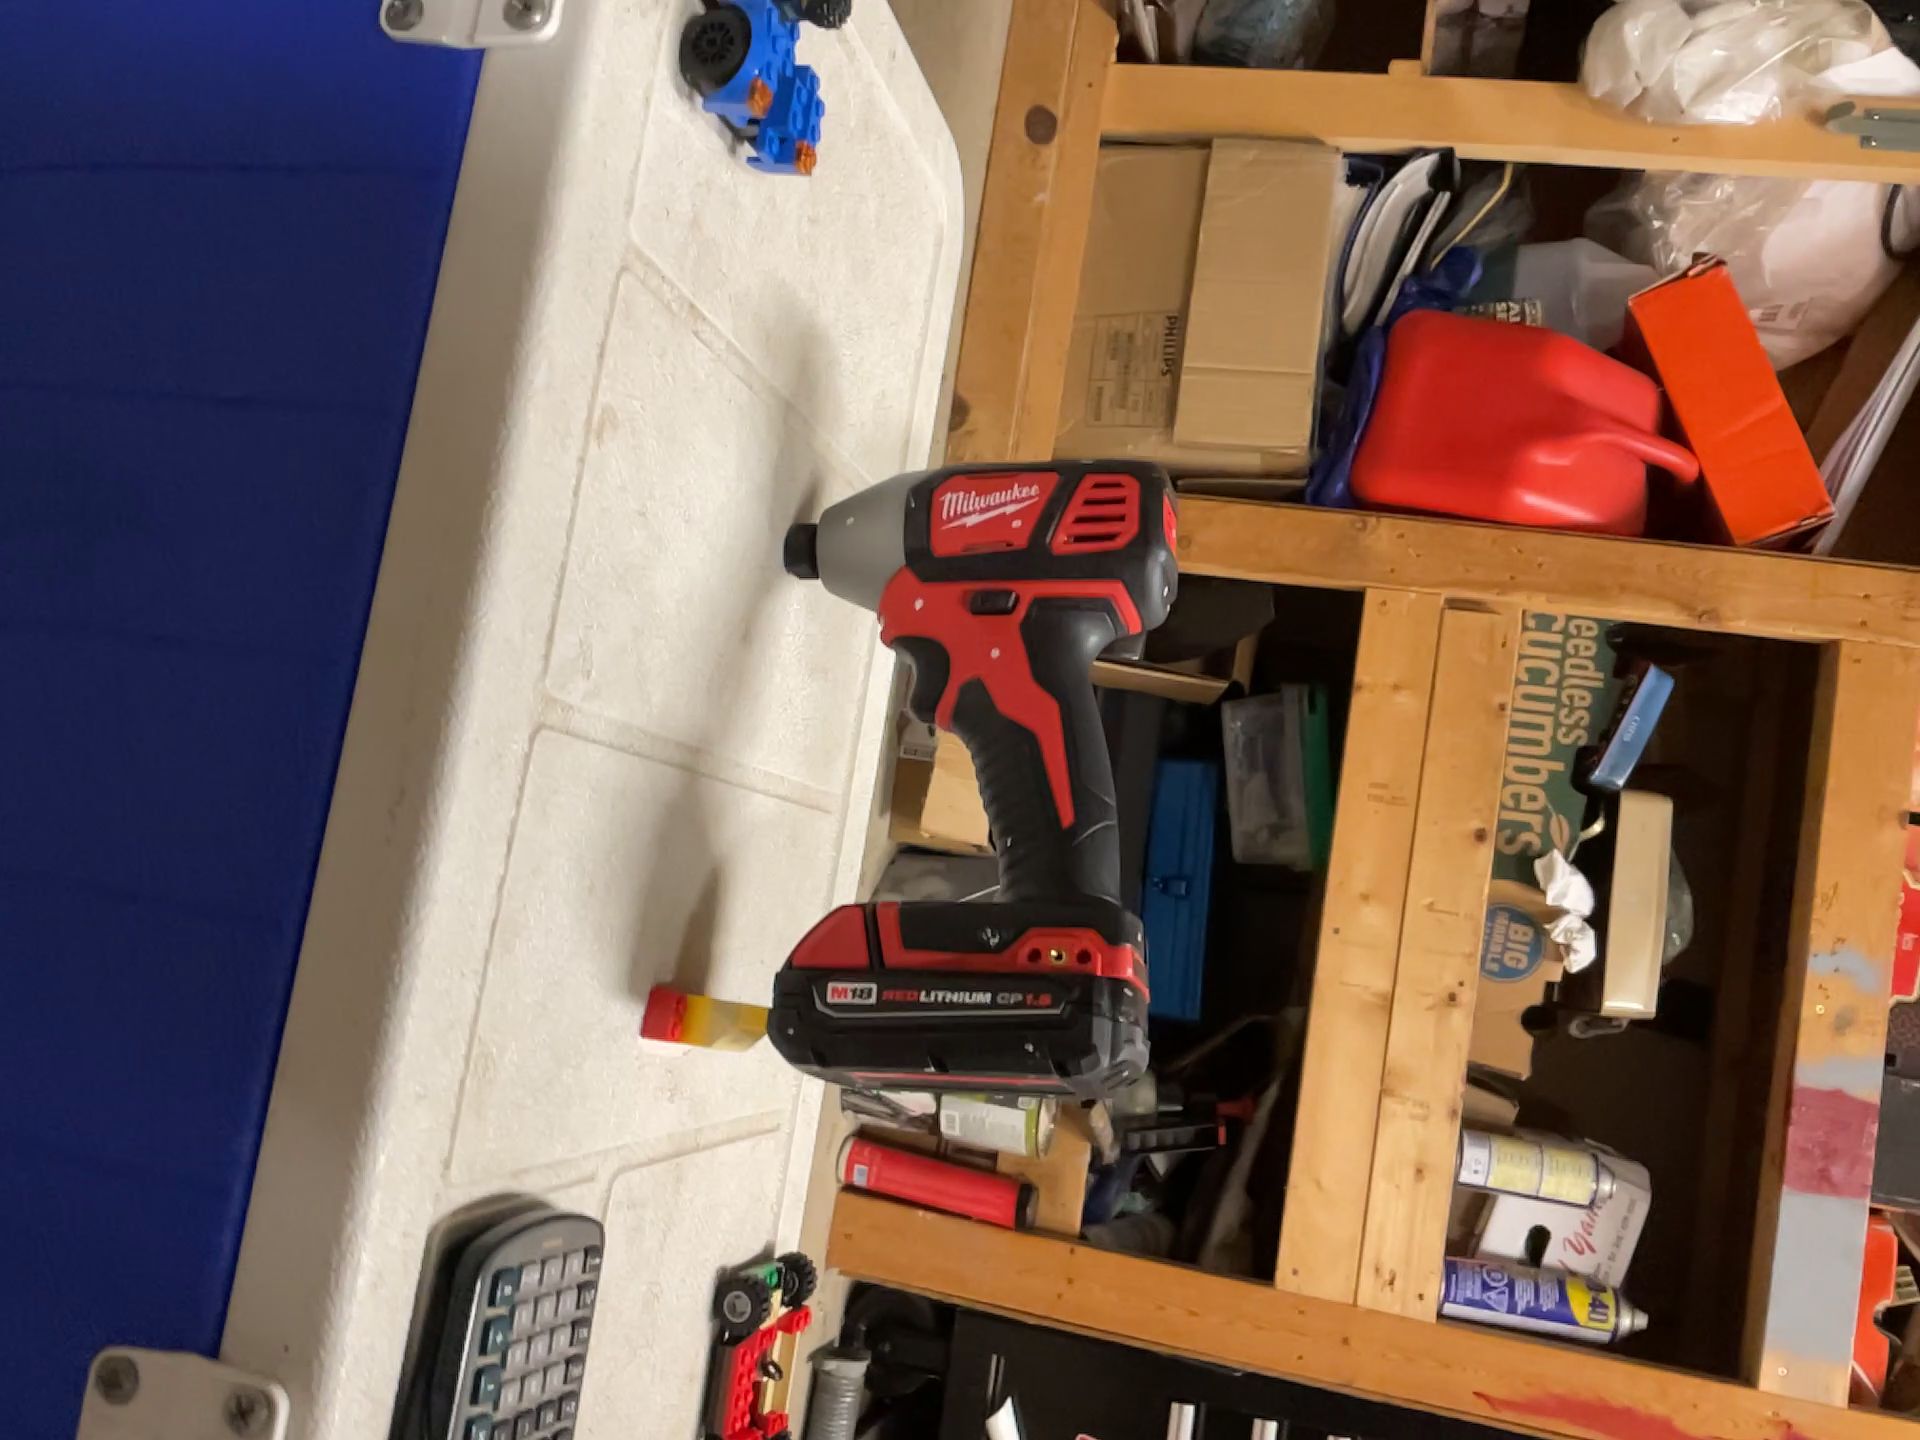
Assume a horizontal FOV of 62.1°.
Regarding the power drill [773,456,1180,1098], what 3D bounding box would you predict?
[{"bbox_3d":[0.001,0.013,0.549,0.078,0.143,0.220,60,32,-68],"label":"power drill"}]
